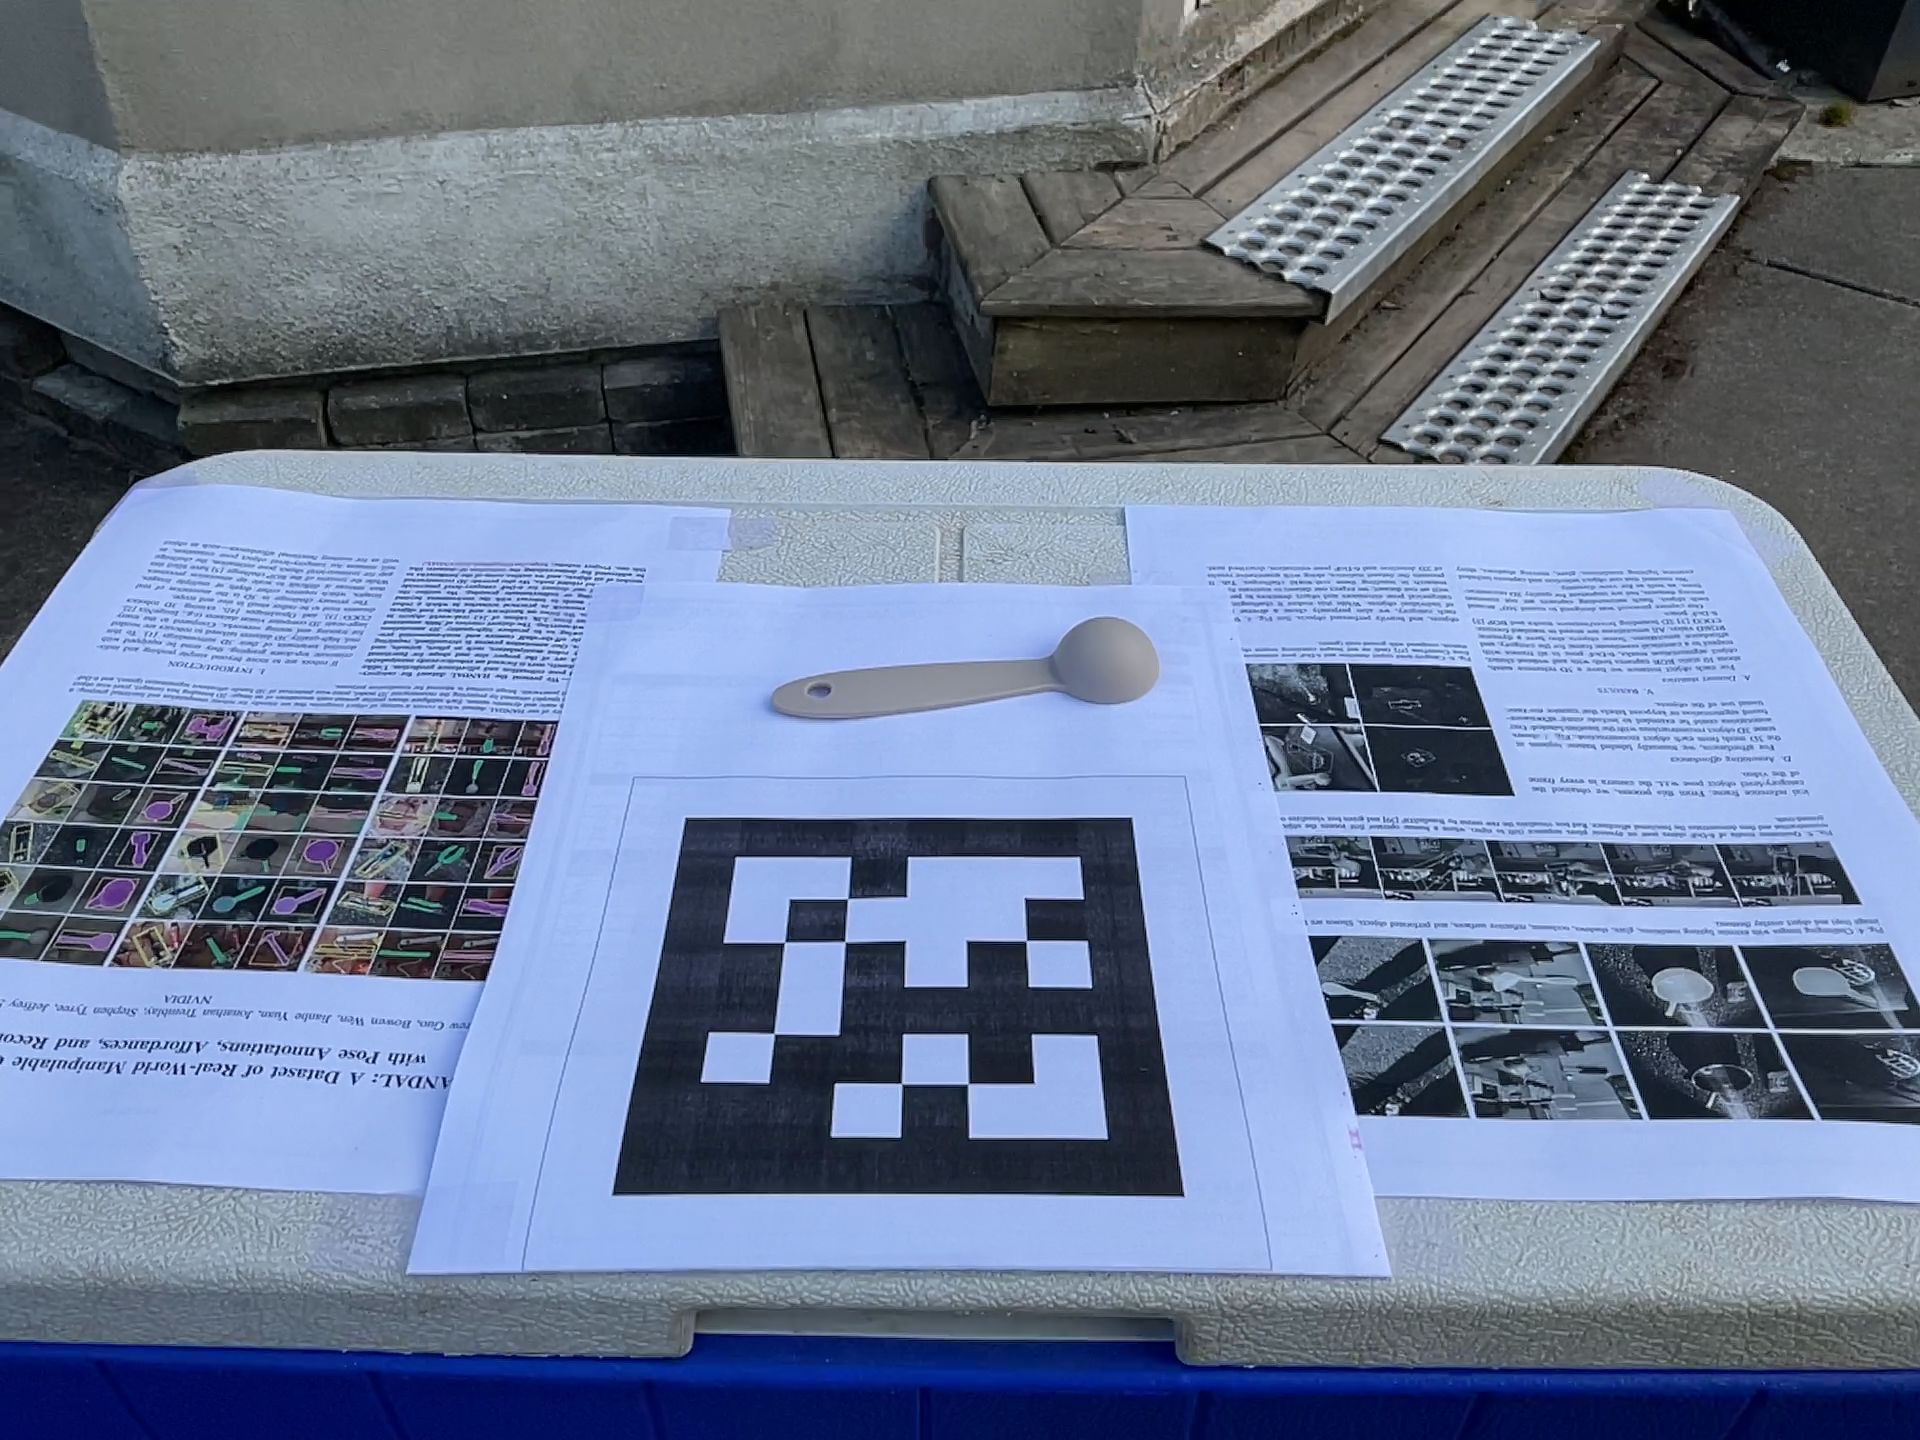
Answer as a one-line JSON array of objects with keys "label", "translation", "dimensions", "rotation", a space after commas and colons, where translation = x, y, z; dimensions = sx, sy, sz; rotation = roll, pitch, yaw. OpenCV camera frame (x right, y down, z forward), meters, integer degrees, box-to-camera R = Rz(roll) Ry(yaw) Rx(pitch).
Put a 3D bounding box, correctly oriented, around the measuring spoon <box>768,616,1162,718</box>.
[{"label": "measuring spoon", "translation": [0.002, -0.017, 0.495], "dimensions": [0.124, 0.018, 0.034], "rotation": [-6, 43, -7]}]
